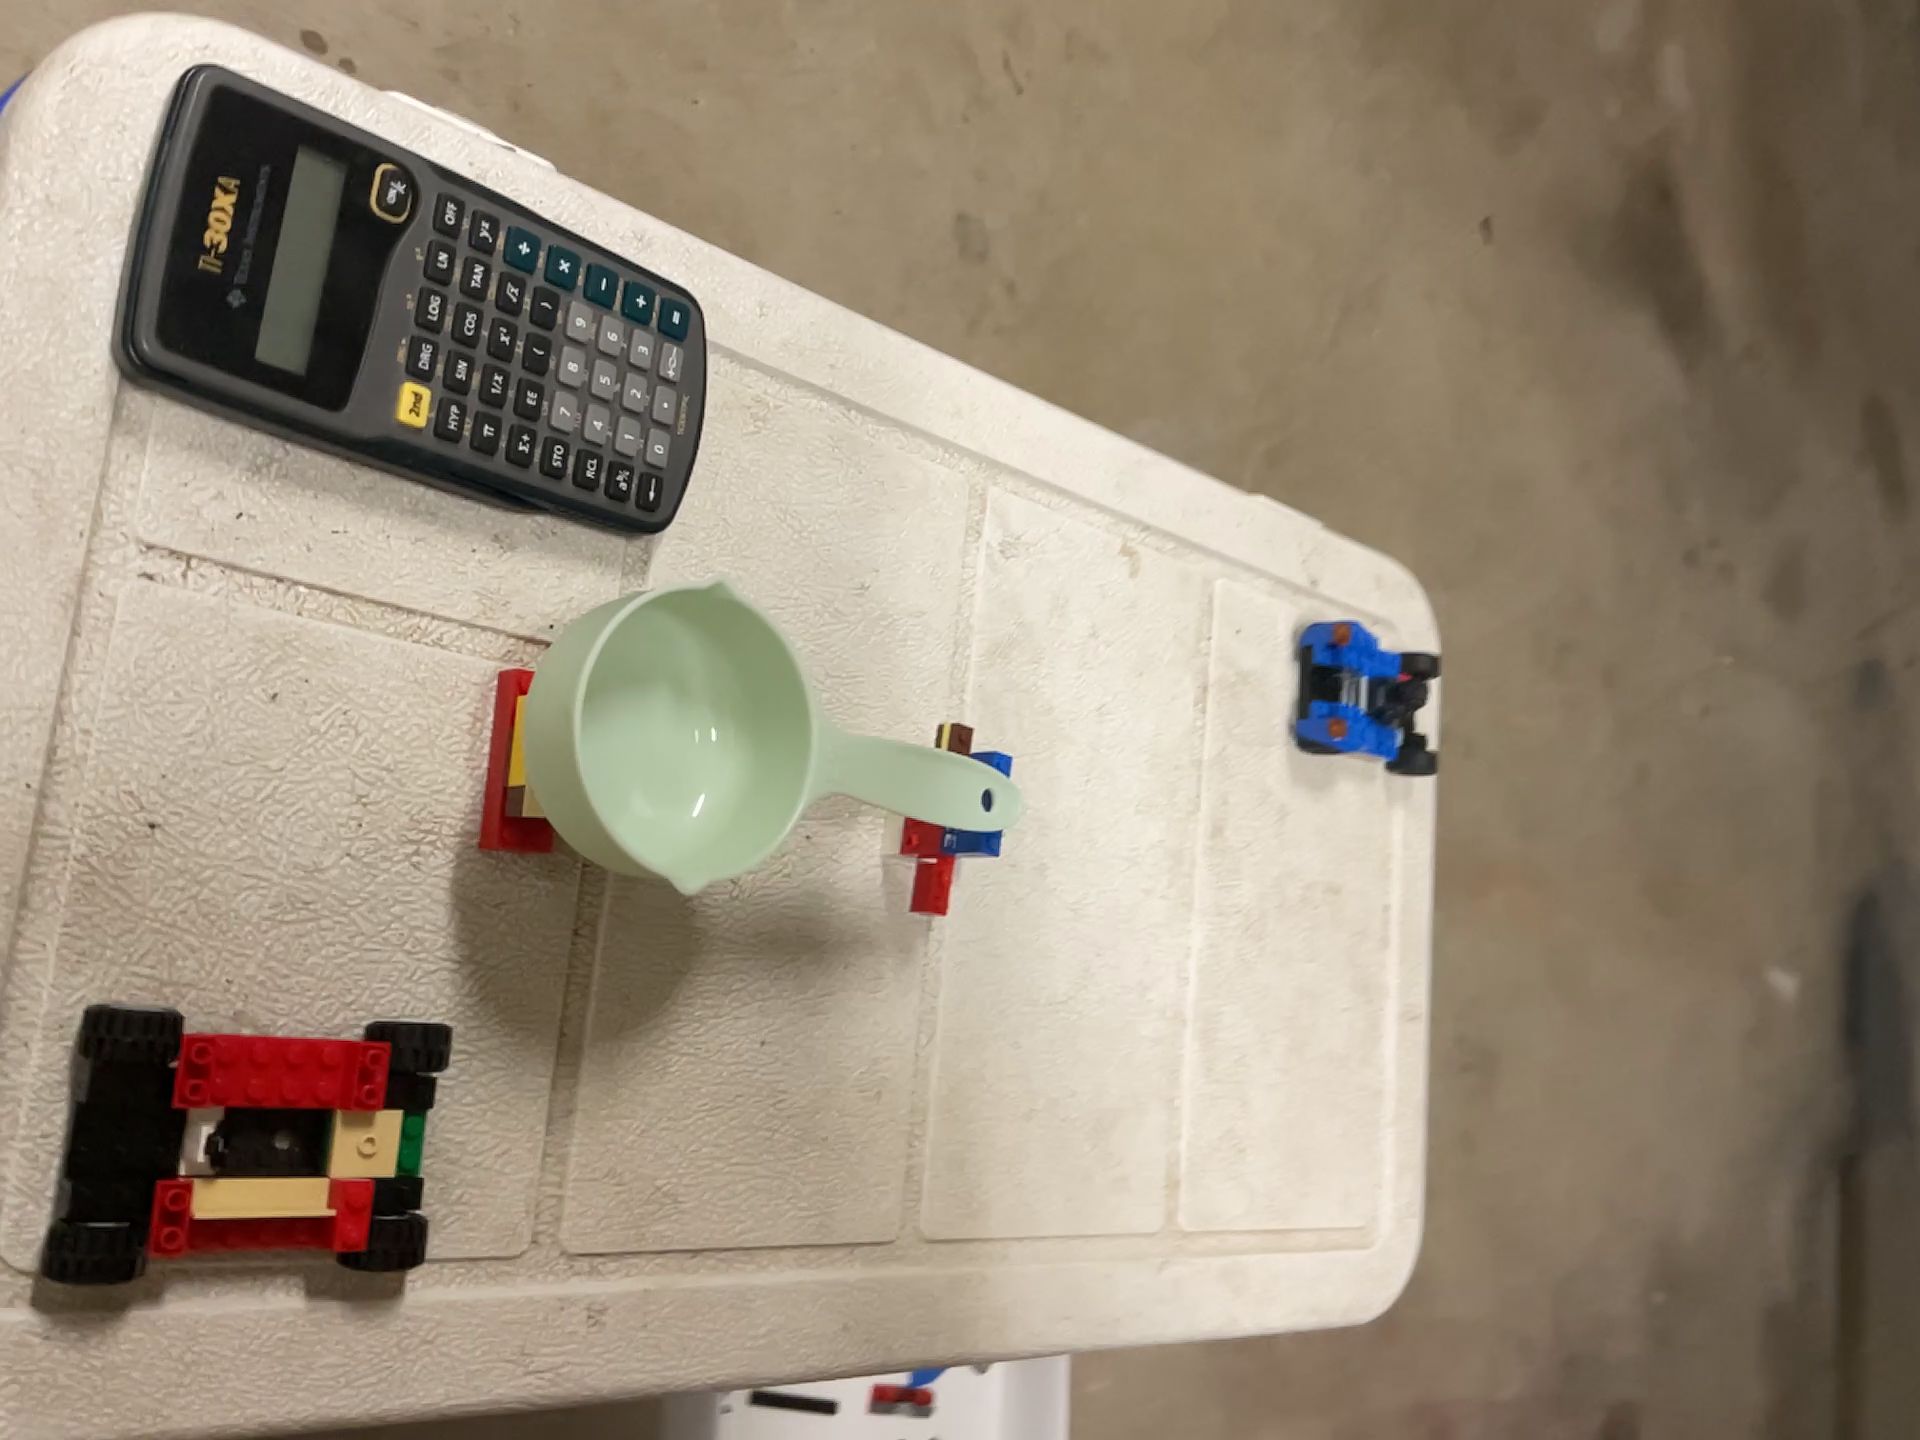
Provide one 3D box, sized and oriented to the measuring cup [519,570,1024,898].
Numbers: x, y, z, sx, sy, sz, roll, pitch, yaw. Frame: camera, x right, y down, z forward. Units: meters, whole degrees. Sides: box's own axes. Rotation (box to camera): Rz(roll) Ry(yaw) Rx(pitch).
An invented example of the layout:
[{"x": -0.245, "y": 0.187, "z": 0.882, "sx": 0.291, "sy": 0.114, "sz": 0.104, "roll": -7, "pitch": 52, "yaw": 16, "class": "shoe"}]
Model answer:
[{"x": -0.047, "y": 0.011, "z": 0.445, "sx": 0.167, "sy": 0.038, "sz": 0.083, "roll": 14, "pitch": 75, "yaw": -47, "class": "measuring cup"}]
